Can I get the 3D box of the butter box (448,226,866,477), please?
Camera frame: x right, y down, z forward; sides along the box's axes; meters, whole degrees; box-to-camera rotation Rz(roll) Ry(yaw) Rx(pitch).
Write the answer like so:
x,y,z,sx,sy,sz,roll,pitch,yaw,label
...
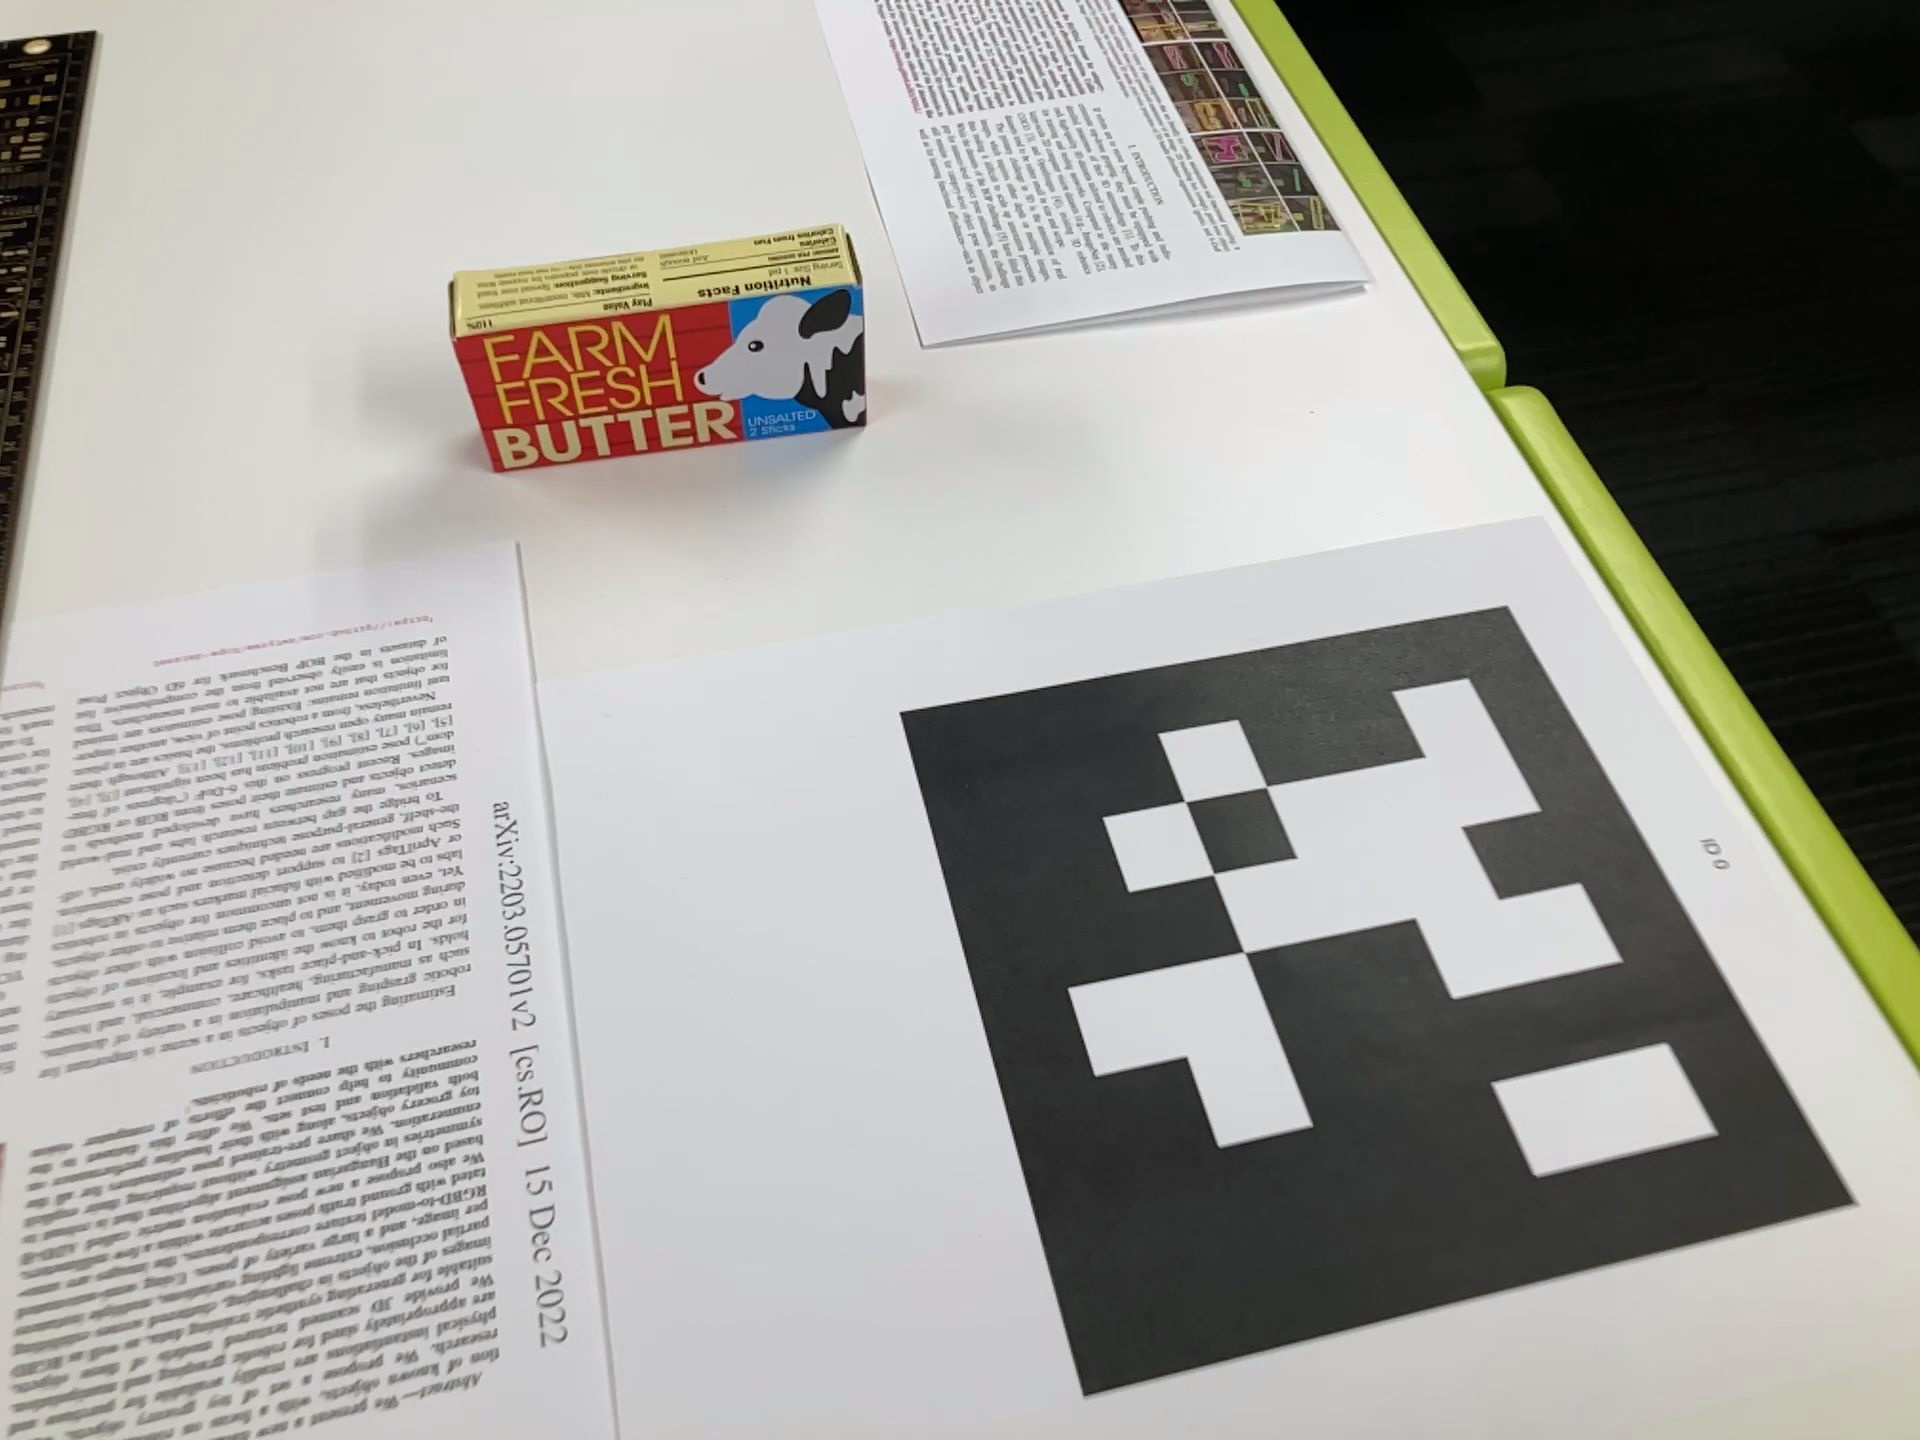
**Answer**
x,y,z,sx,sy,sz,roll,pitch,yaw,label
-0.077,-0.096,0.417,0.103,0.053,0.024,-10,57,-8,butter box
